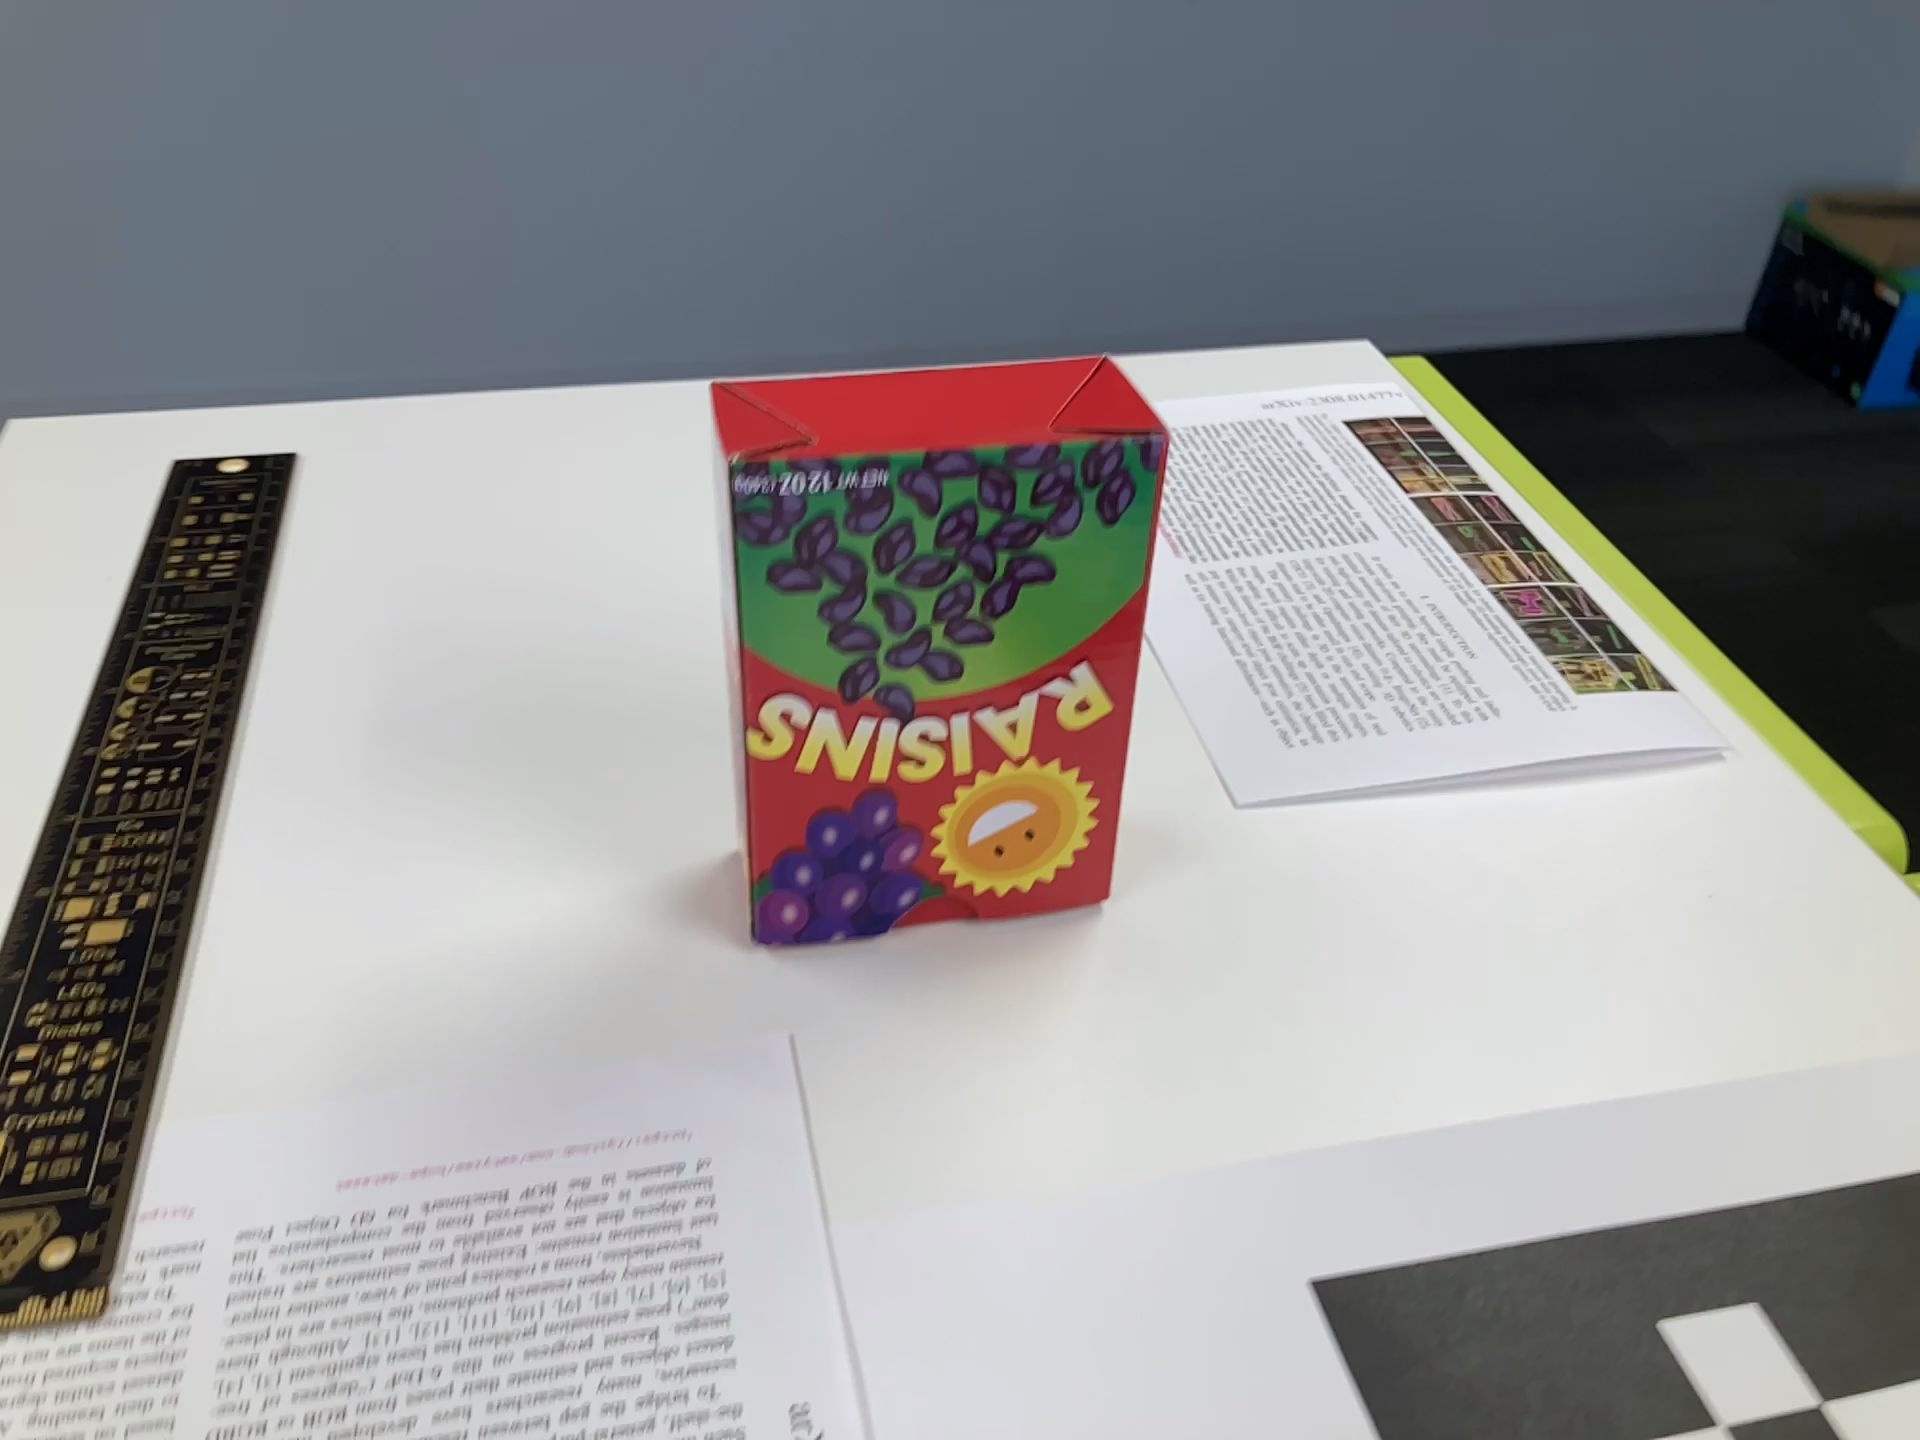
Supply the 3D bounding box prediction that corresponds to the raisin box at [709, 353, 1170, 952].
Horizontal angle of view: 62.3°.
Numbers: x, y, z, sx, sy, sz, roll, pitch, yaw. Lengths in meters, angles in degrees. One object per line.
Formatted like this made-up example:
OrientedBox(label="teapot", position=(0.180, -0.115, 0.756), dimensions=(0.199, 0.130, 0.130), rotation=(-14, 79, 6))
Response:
OrientedBox(label="raisin box", position=(-0.006, -0.011, 0.340), dimensions=(0.086, 0.123, 0.040), rotation=(-6, 37, -12))
